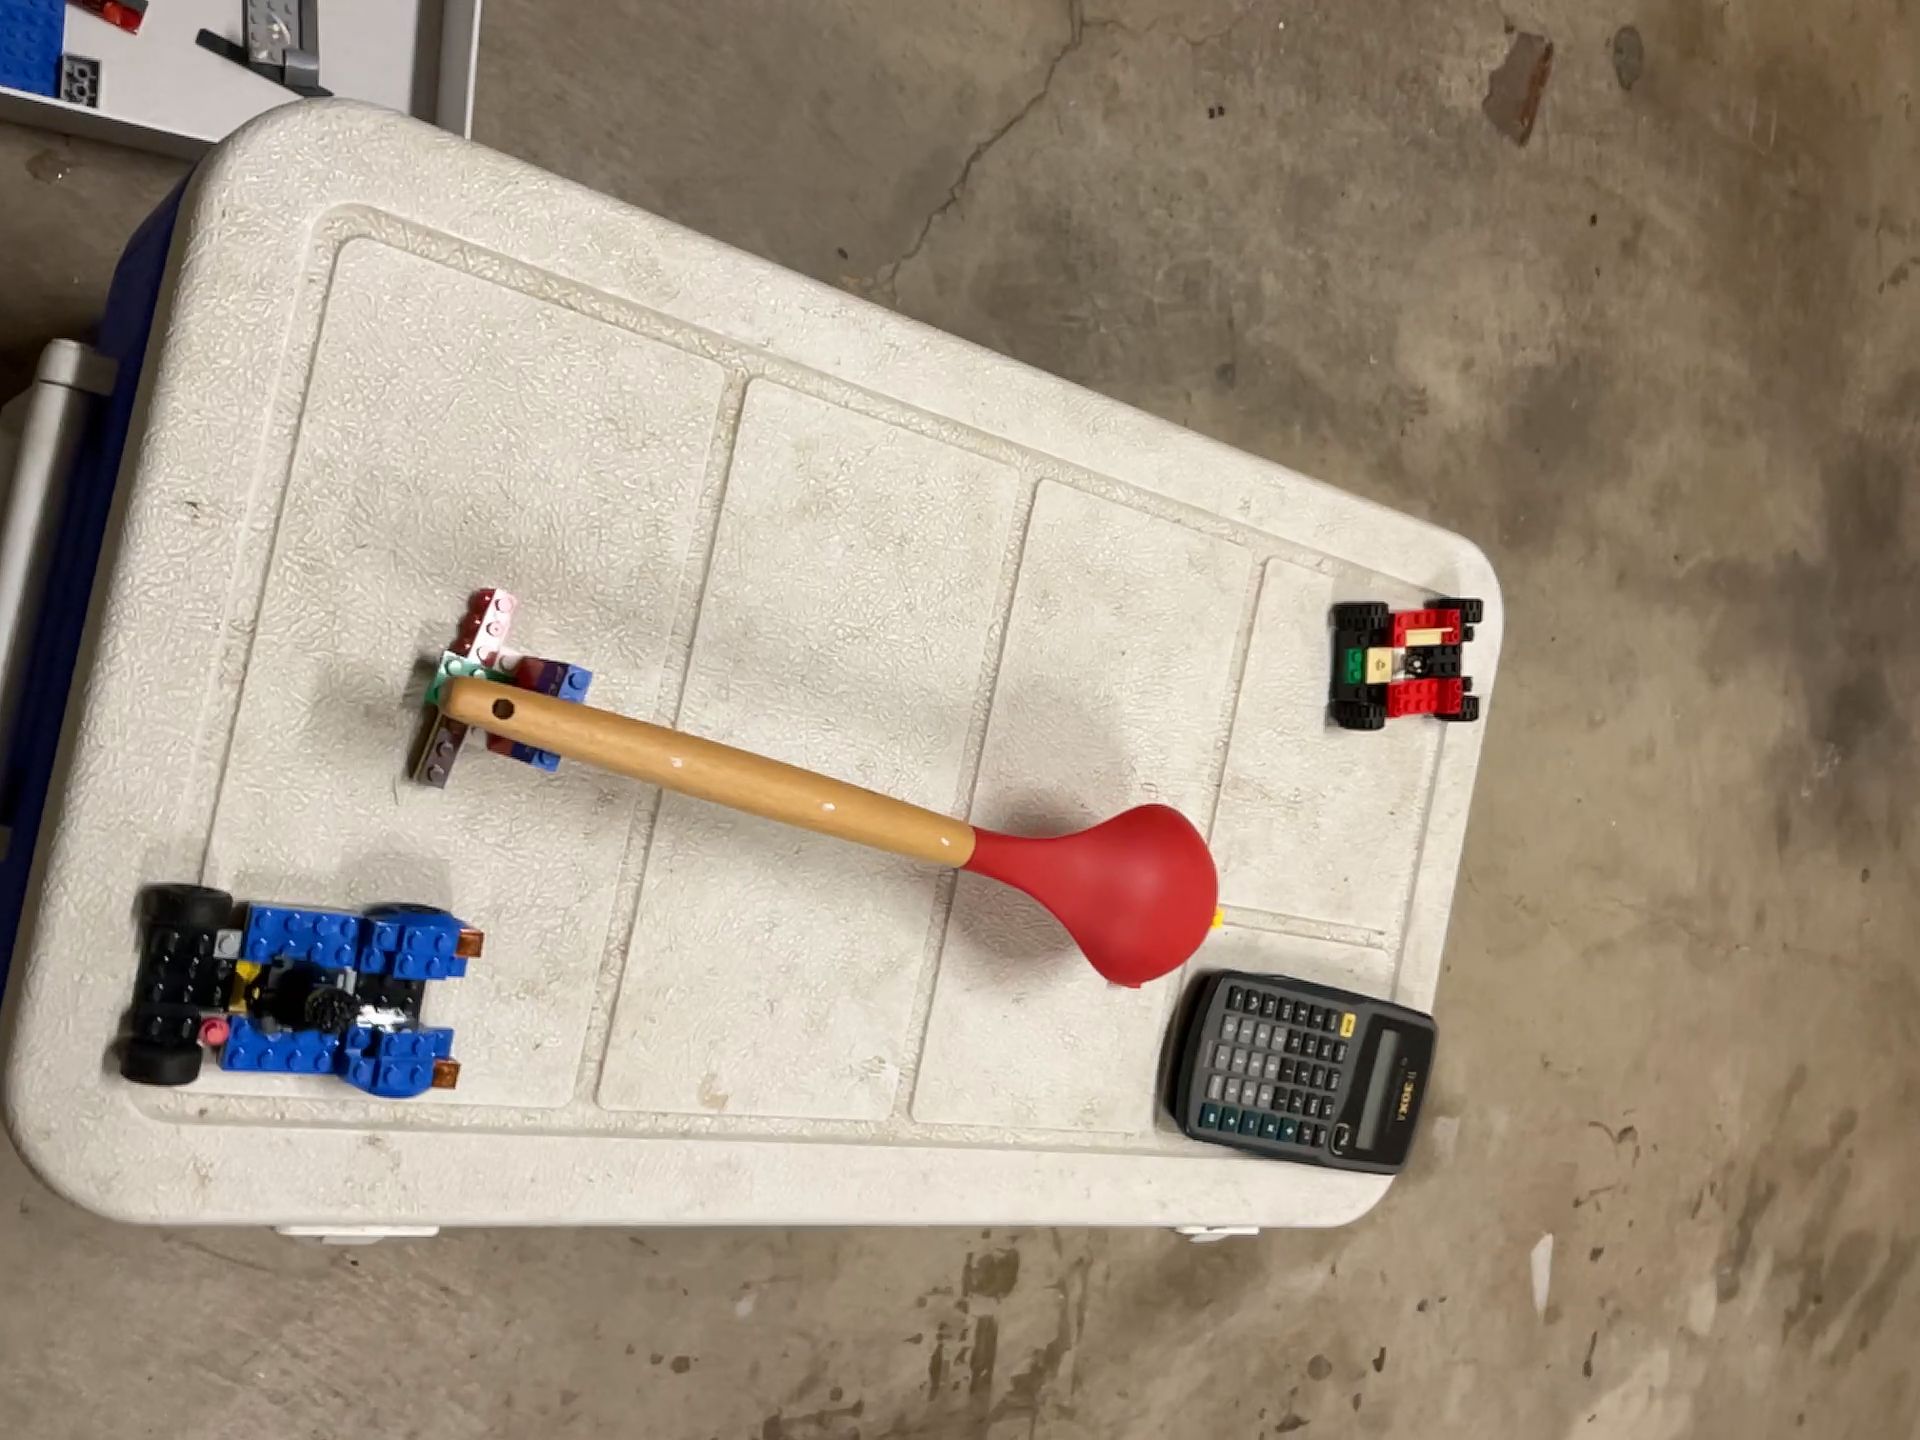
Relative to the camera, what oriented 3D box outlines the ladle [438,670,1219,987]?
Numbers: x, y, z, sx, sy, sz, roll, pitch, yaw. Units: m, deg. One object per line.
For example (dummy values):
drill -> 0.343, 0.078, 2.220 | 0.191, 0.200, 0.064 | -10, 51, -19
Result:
ladle -> -0.020, 0.034, 0.530 | 0.315, 0.031, 0.069 | 20, 84, -34
